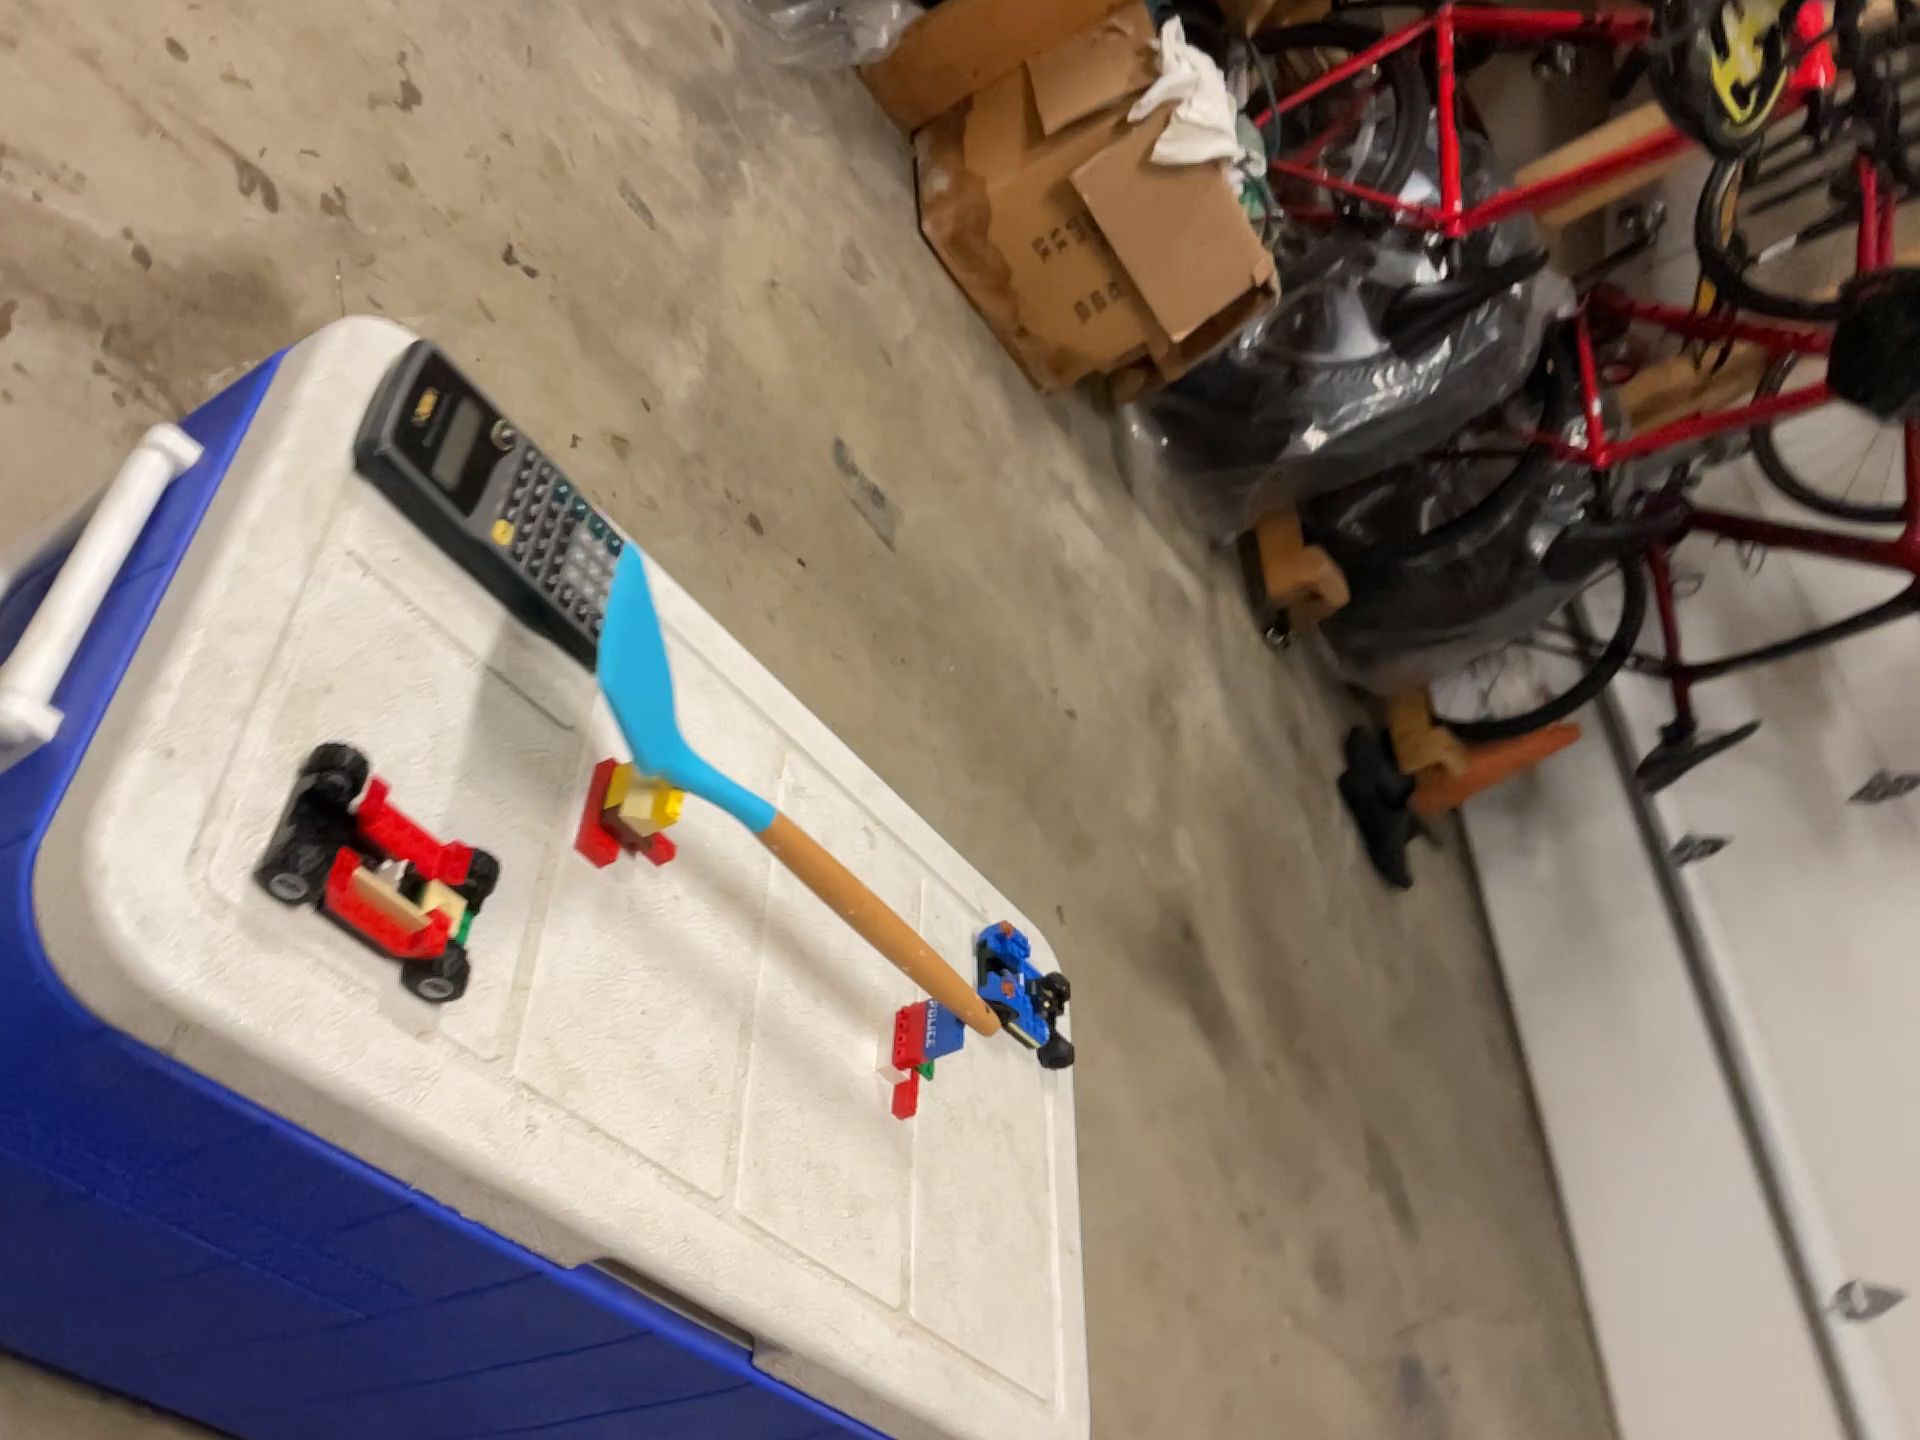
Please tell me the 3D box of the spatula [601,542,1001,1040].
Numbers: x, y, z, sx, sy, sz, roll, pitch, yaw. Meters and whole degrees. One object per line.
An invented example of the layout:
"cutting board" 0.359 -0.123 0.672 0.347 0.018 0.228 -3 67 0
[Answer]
"spatula" -0.062 0.057 0.702 0.317 0.044 0.083 48 27 -36
